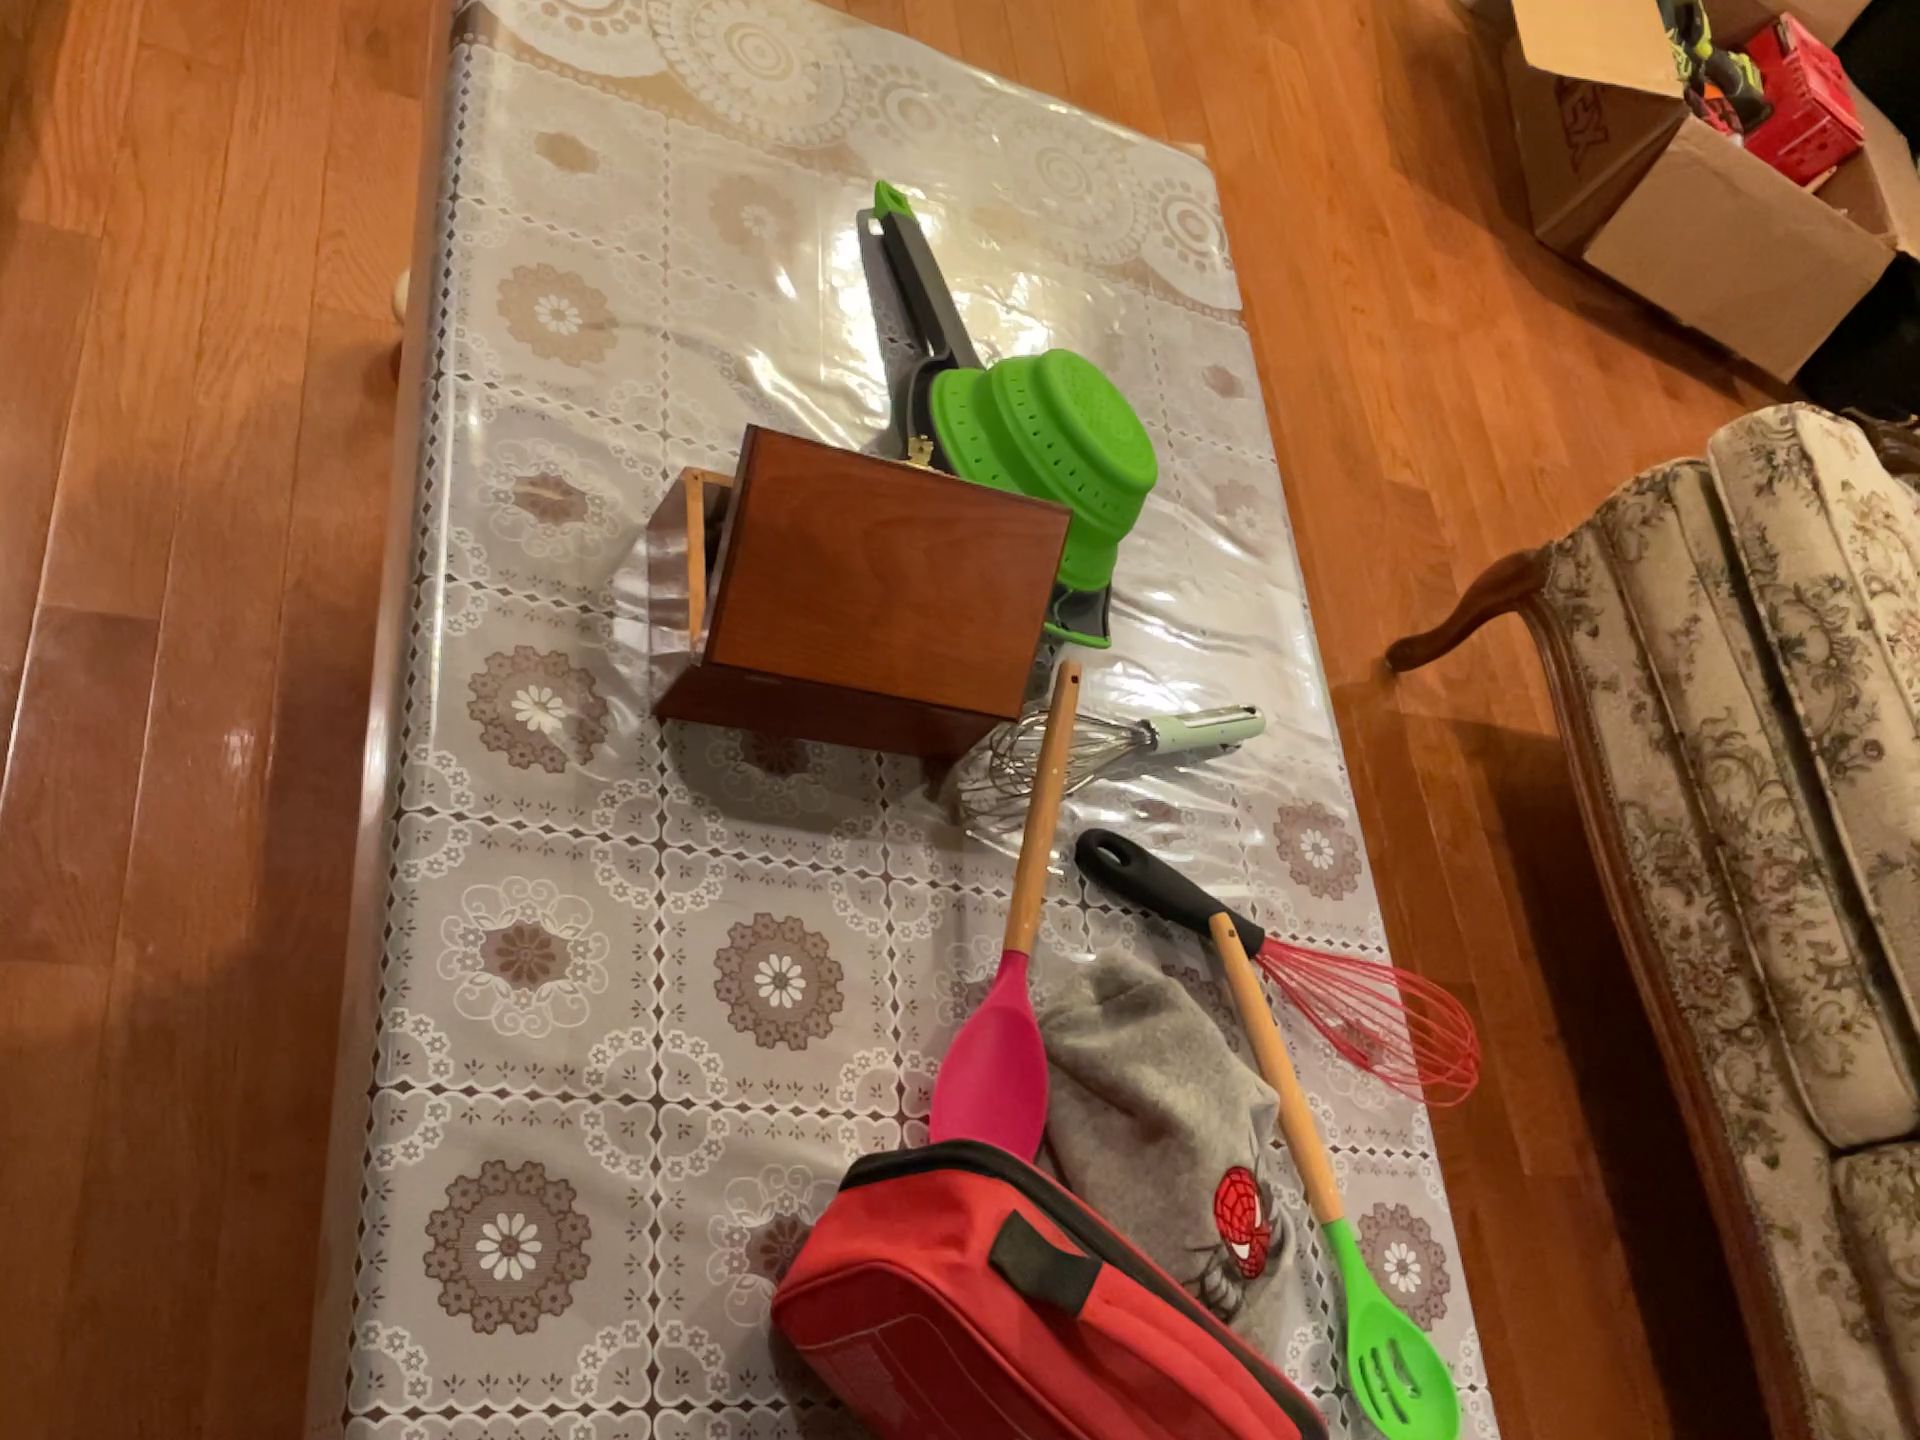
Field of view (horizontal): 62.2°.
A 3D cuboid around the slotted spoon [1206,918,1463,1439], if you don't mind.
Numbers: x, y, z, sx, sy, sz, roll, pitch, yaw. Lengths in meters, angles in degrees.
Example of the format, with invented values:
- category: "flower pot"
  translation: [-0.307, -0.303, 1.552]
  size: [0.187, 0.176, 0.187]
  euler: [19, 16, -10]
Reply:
- category: "slotted spoon"
  translation: [0.207, 0.263, 0.922]
  size: [0.070, 0.031, 0.314]
  euler: [-9, 71, -36]

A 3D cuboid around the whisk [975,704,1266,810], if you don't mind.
- category: "whisk"
  translation: [0.111, 0.015, 1.018]
  size: [0.246, 0.059, 0.057]
  euler: [-9, 110, -39]

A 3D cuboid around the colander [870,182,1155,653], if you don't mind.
- category: "colander"
  translation: [0.031, -0.235, 1.048]
  size: [0.204, 0.094, 0.398]
  euler: [16, 46, -49]

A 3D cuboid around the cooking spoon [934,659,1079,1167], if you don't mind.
- category: "cooking spoon"
  translation: [0.036, 0.108, 0.887]
  size: [0.068, 0.017, 0.319]
  euler: [22, 64, -23]

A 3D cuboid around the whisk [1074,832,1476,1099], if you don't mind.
- category: "whisk"
  translation: [0.198, 0.149, 0.983]
  size: [0.295, 0.073, 0.073]
  euler: [31, 57, -6]
